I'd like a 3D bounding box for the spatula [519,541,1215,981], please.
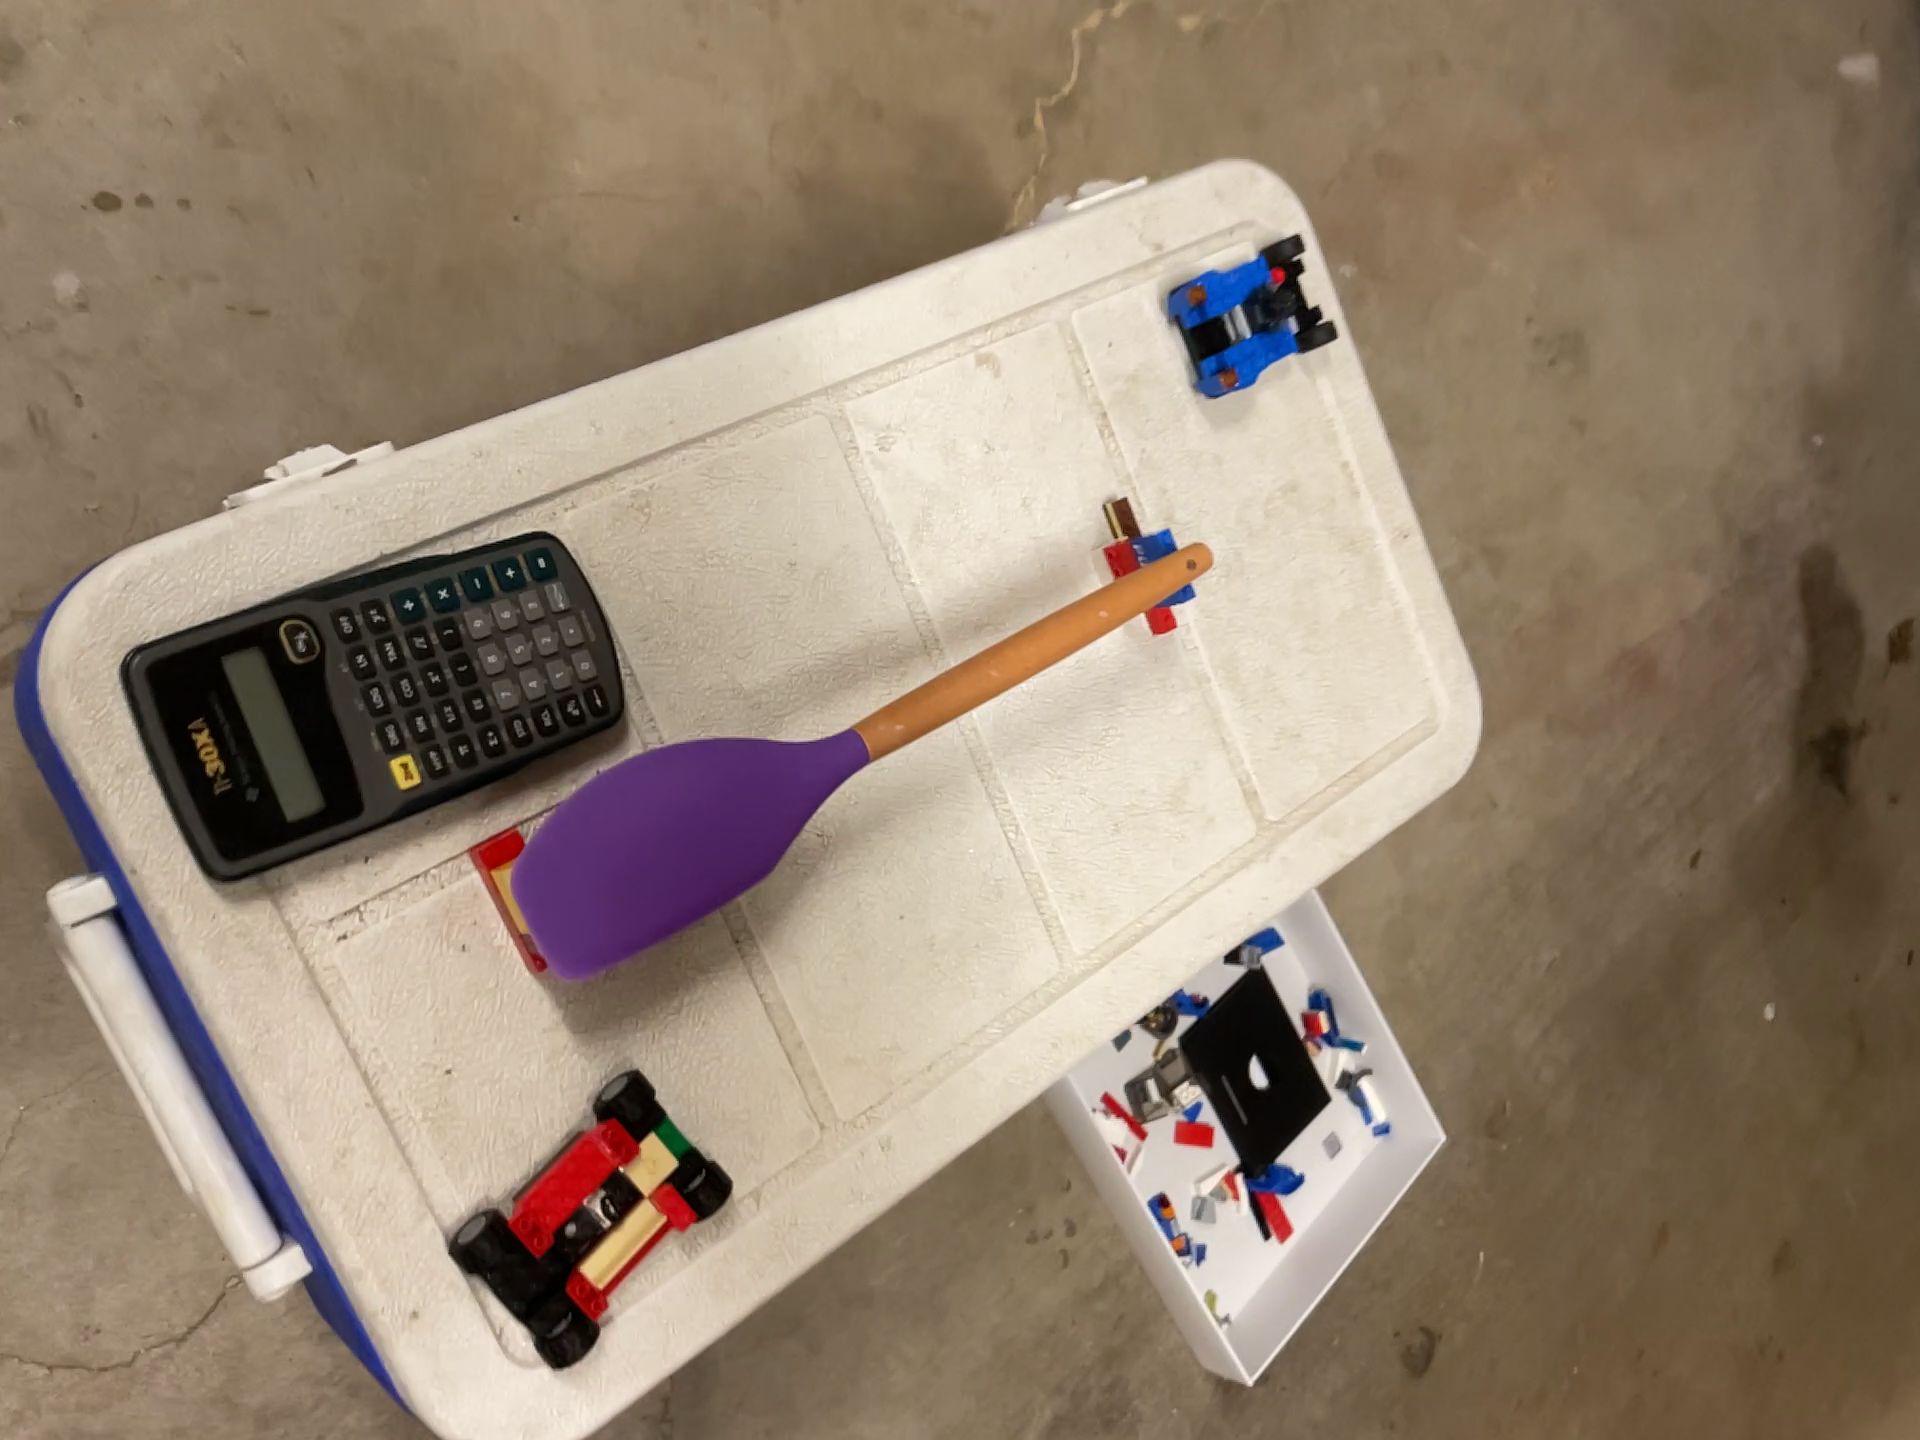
[{"bbox_3d":[-0.017,-0.004,0.590,0.316,0.018,0.059,-29,102,-30],"label":"spatula"}]
